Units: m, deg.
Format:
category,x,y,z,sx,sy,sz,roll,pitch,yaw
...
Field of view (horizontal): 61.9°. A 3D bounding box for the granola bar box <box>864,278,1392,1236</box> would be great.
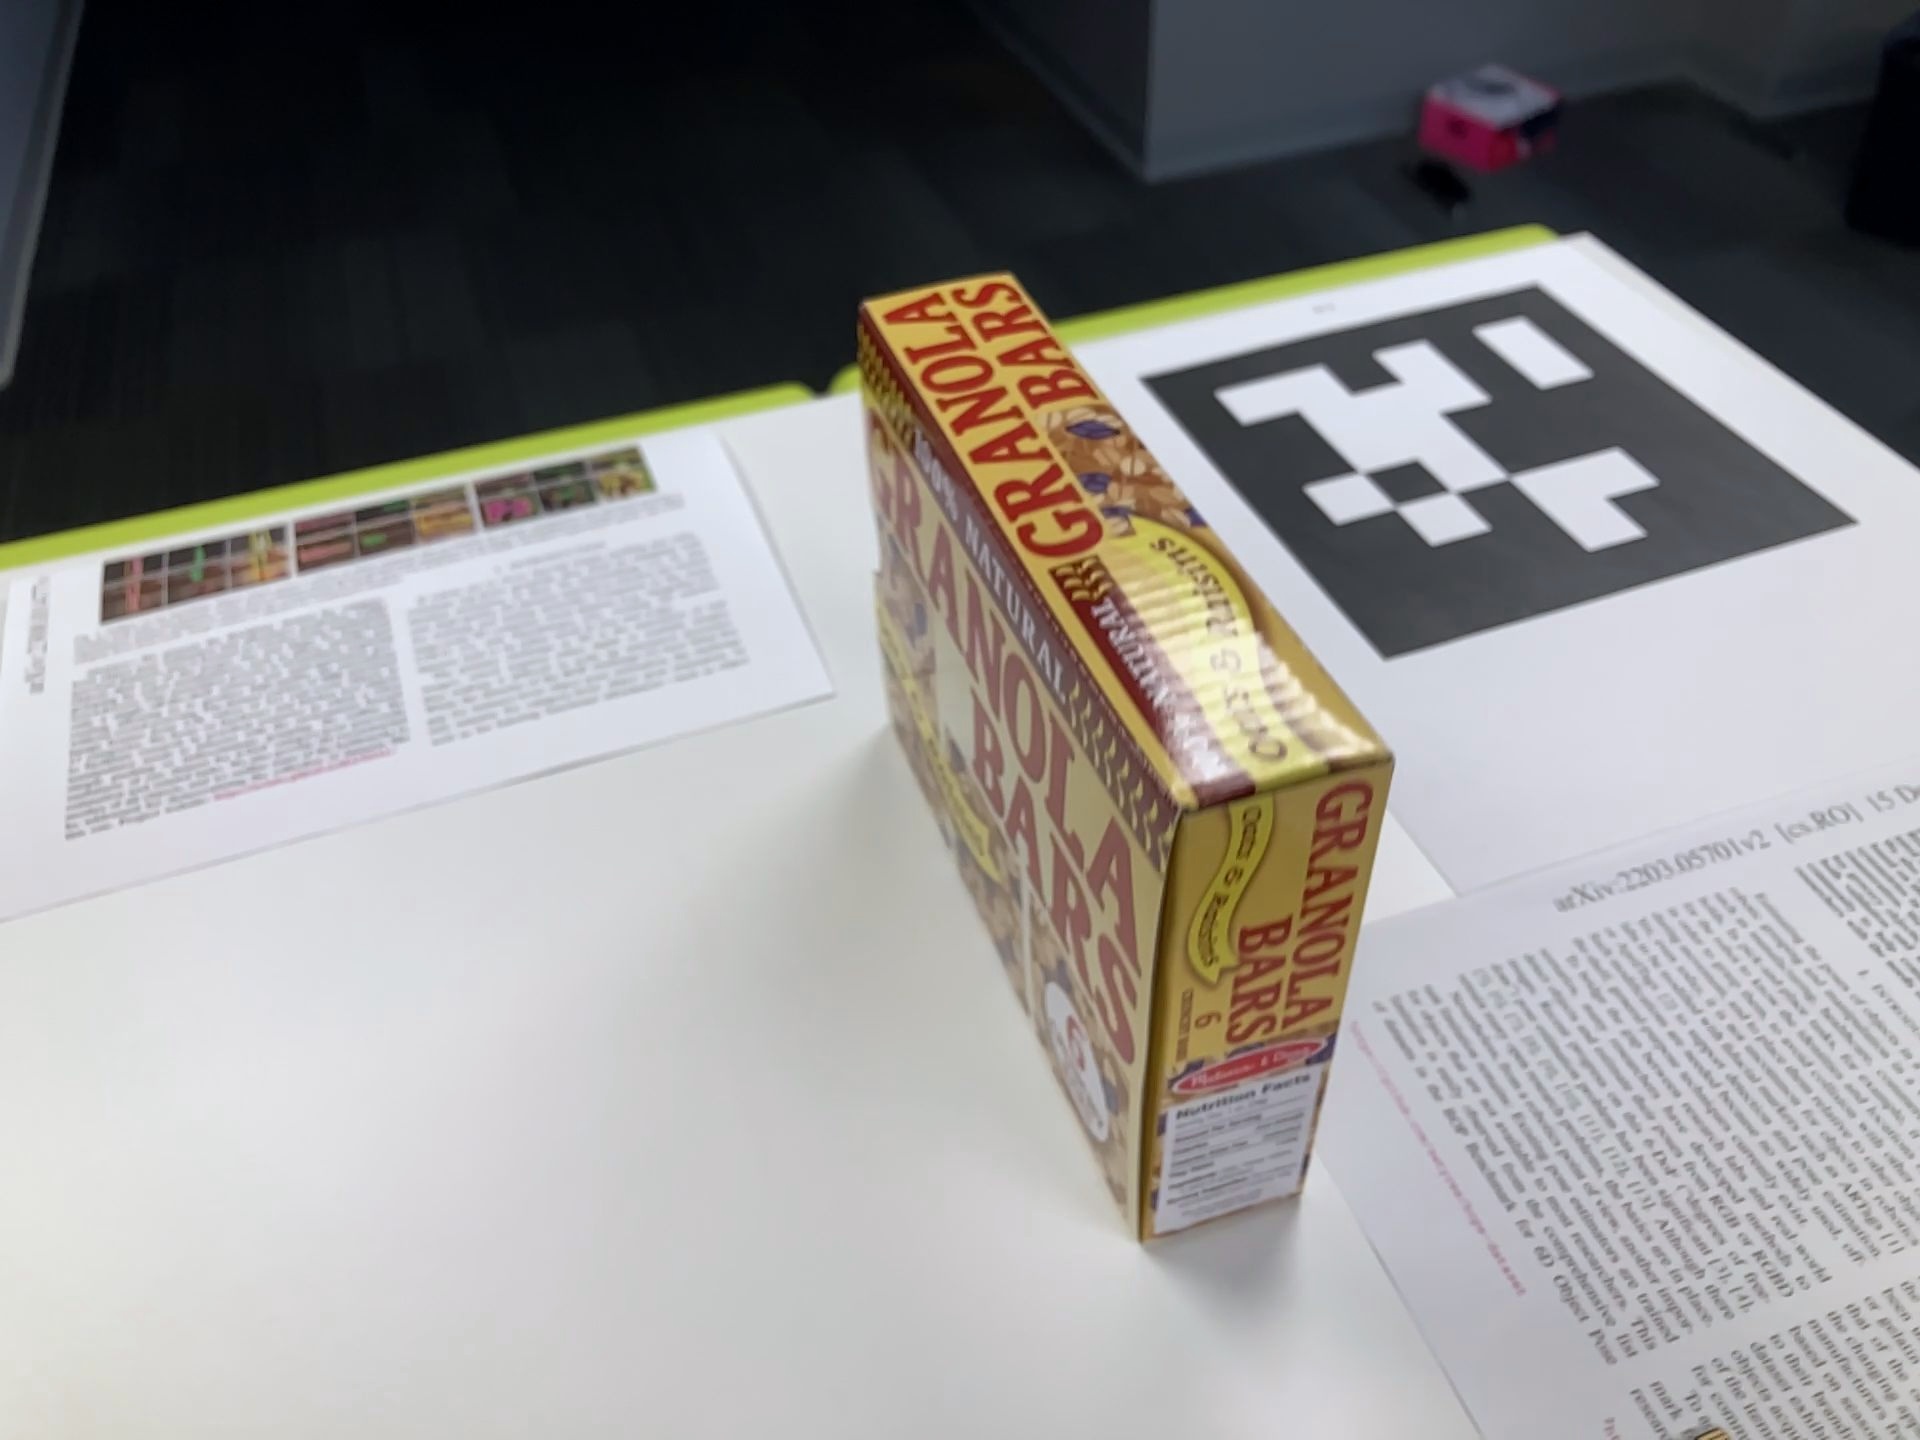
category,x,y,z,sx,sy,sz,roll,pitch,yaw
granola bar box,0.022,0.002,0.337,0.039,0.124,0.165,-14,44,-14
